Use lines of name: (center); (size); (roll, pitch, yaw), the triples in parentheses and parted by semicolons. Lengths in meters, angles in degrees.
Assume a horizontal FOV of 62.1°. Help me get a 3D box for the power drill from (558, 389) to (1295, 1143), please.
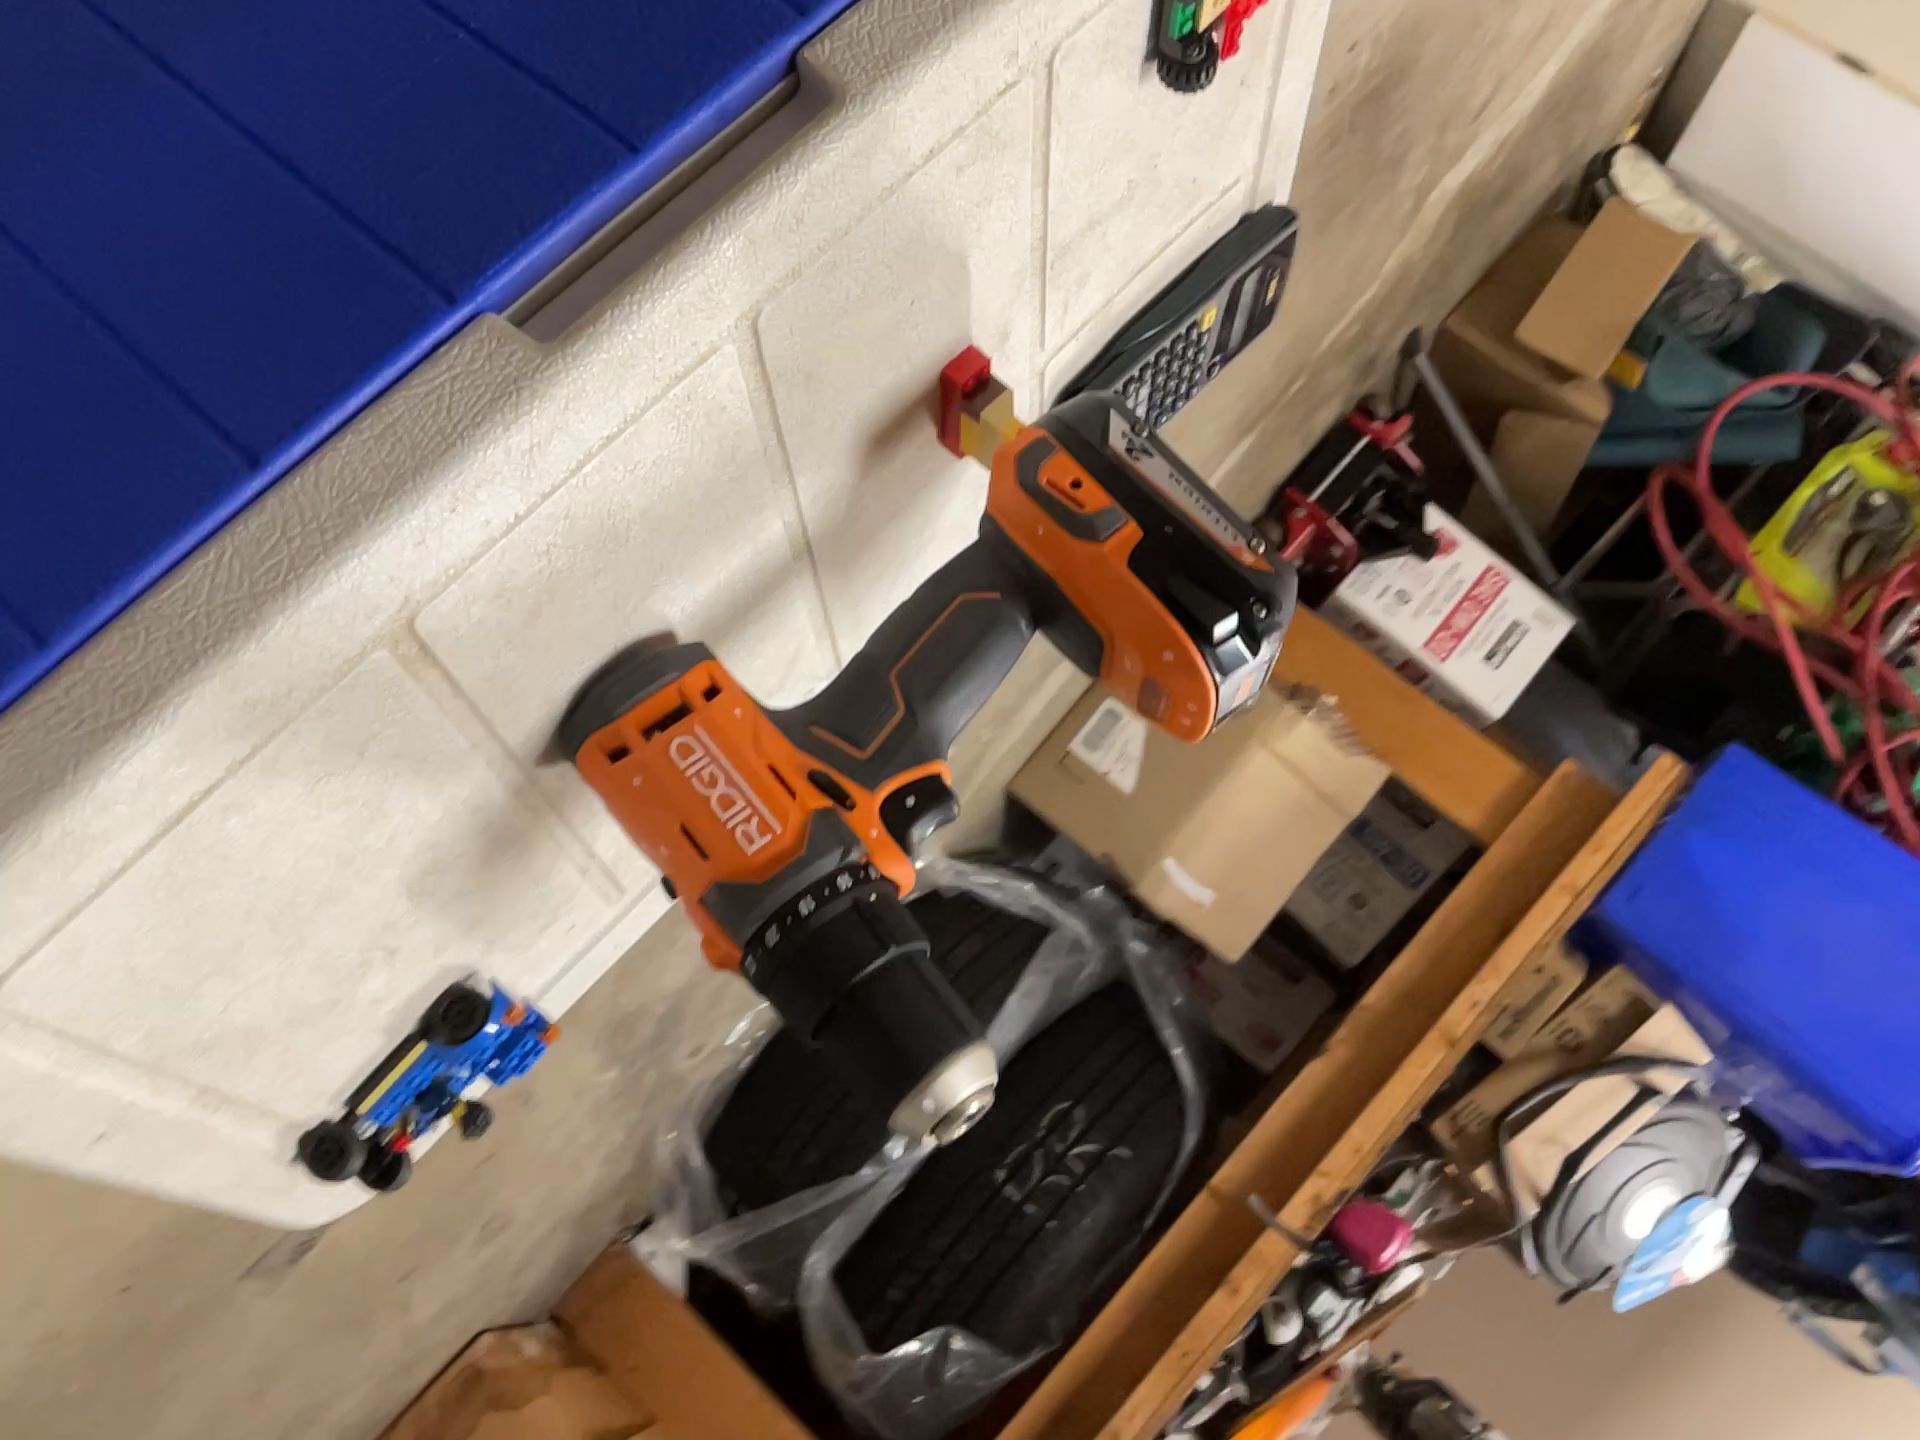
power drill: (0.007, 0.011, 0.533); (0.226, 0.185, 0.084); (-35, 158, -16)
